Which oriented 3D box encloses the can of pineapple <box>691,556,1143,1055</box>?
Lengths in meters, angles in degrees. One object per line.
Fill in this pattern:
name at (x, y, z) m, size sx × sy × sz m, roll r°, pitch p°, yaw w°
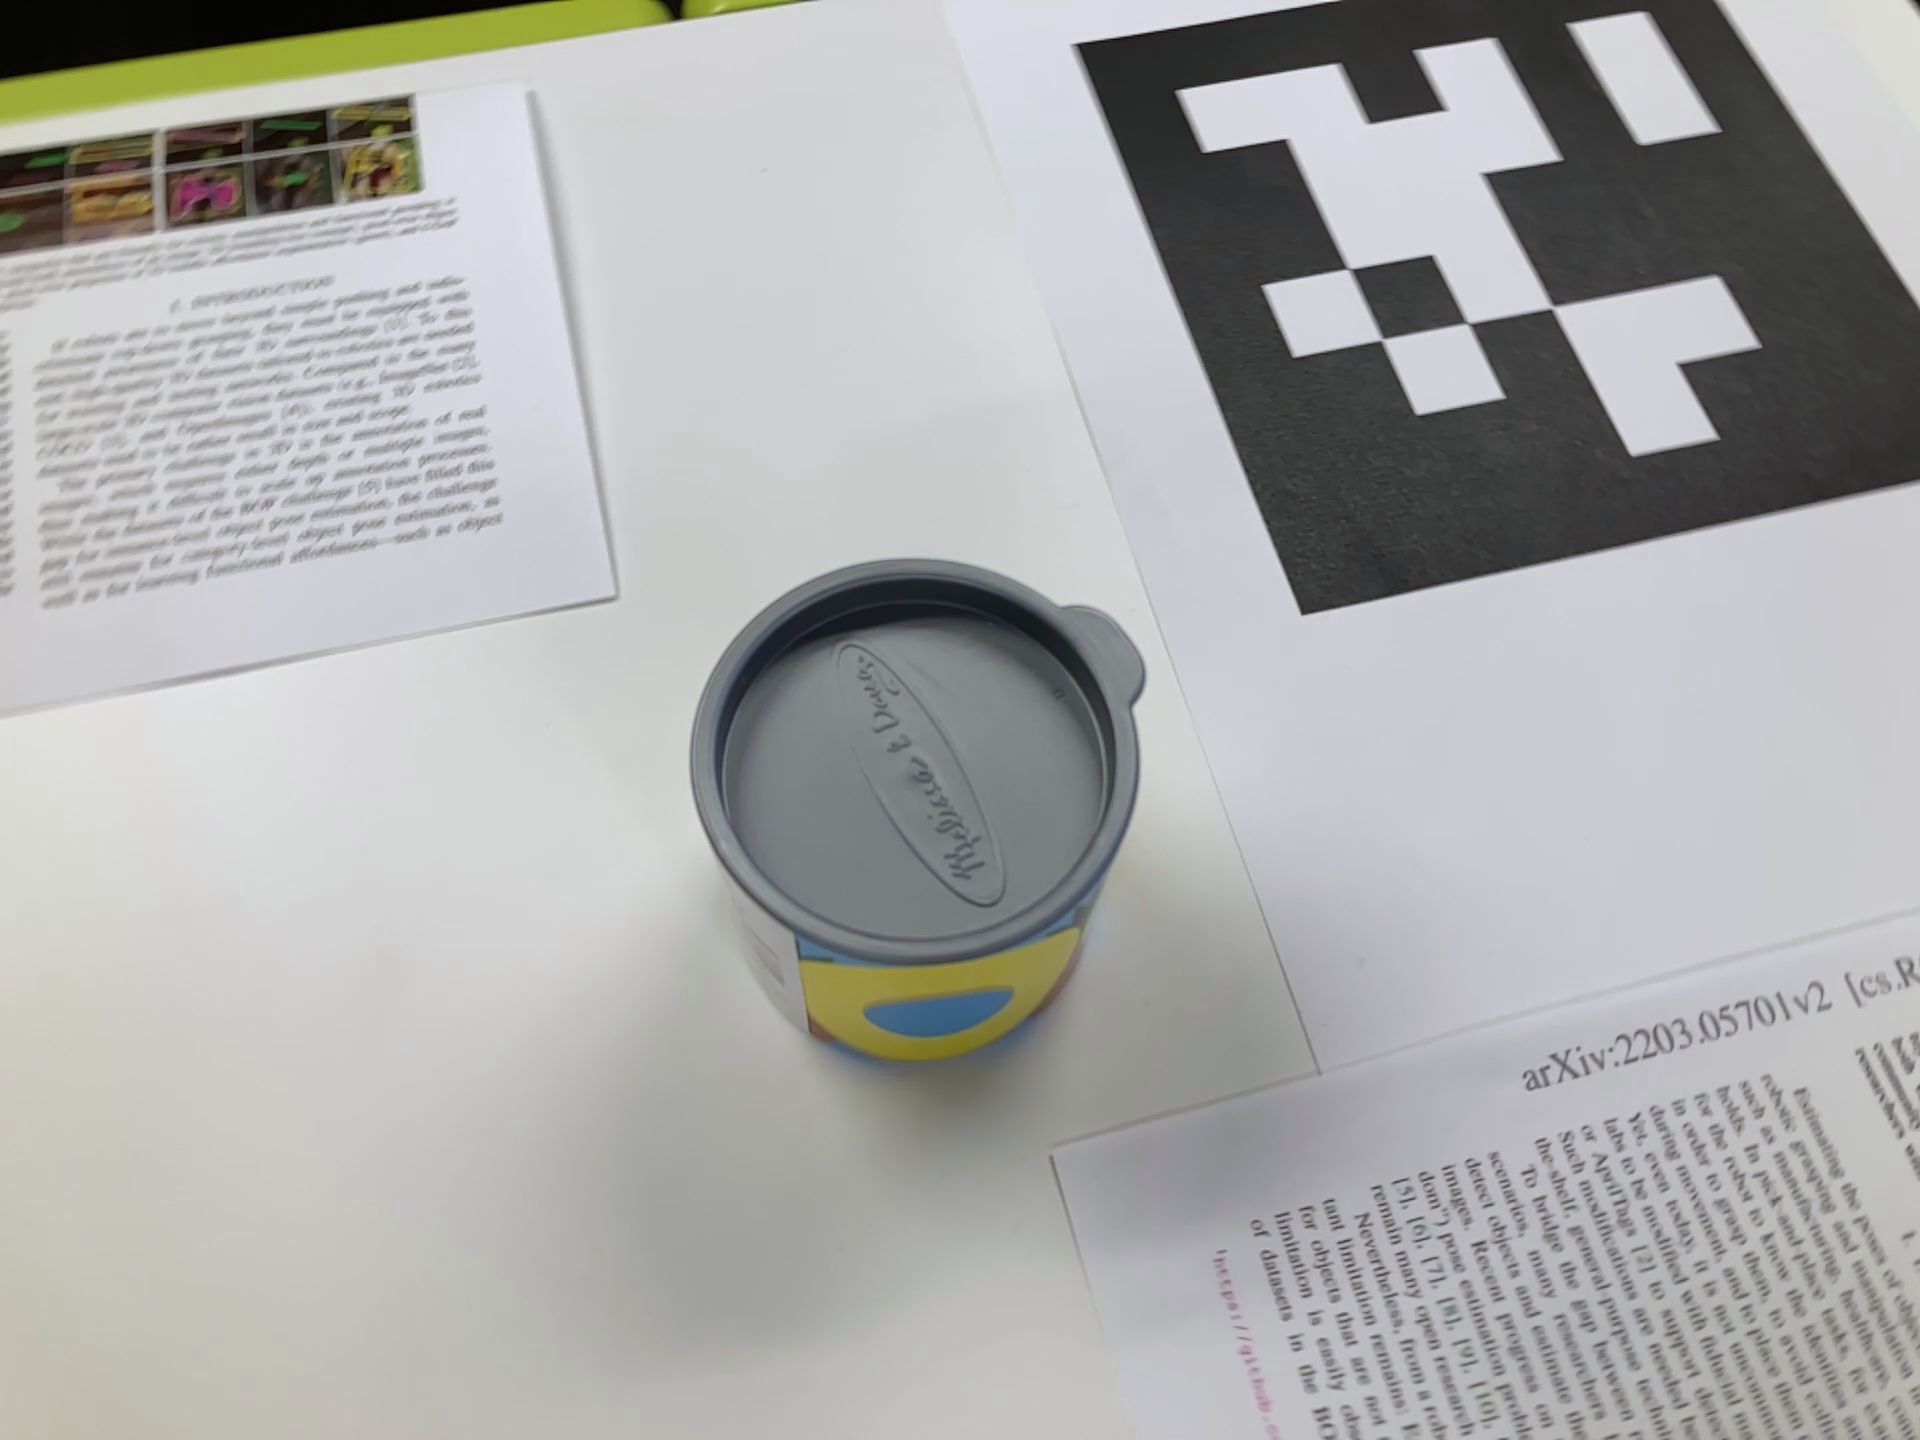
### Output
can of pineapple at (-0.006, 0.016, 0.260) m, size 0.071 × 0.058 × 0.071 m, roll 1°, pitch 65°, yaw -2°
